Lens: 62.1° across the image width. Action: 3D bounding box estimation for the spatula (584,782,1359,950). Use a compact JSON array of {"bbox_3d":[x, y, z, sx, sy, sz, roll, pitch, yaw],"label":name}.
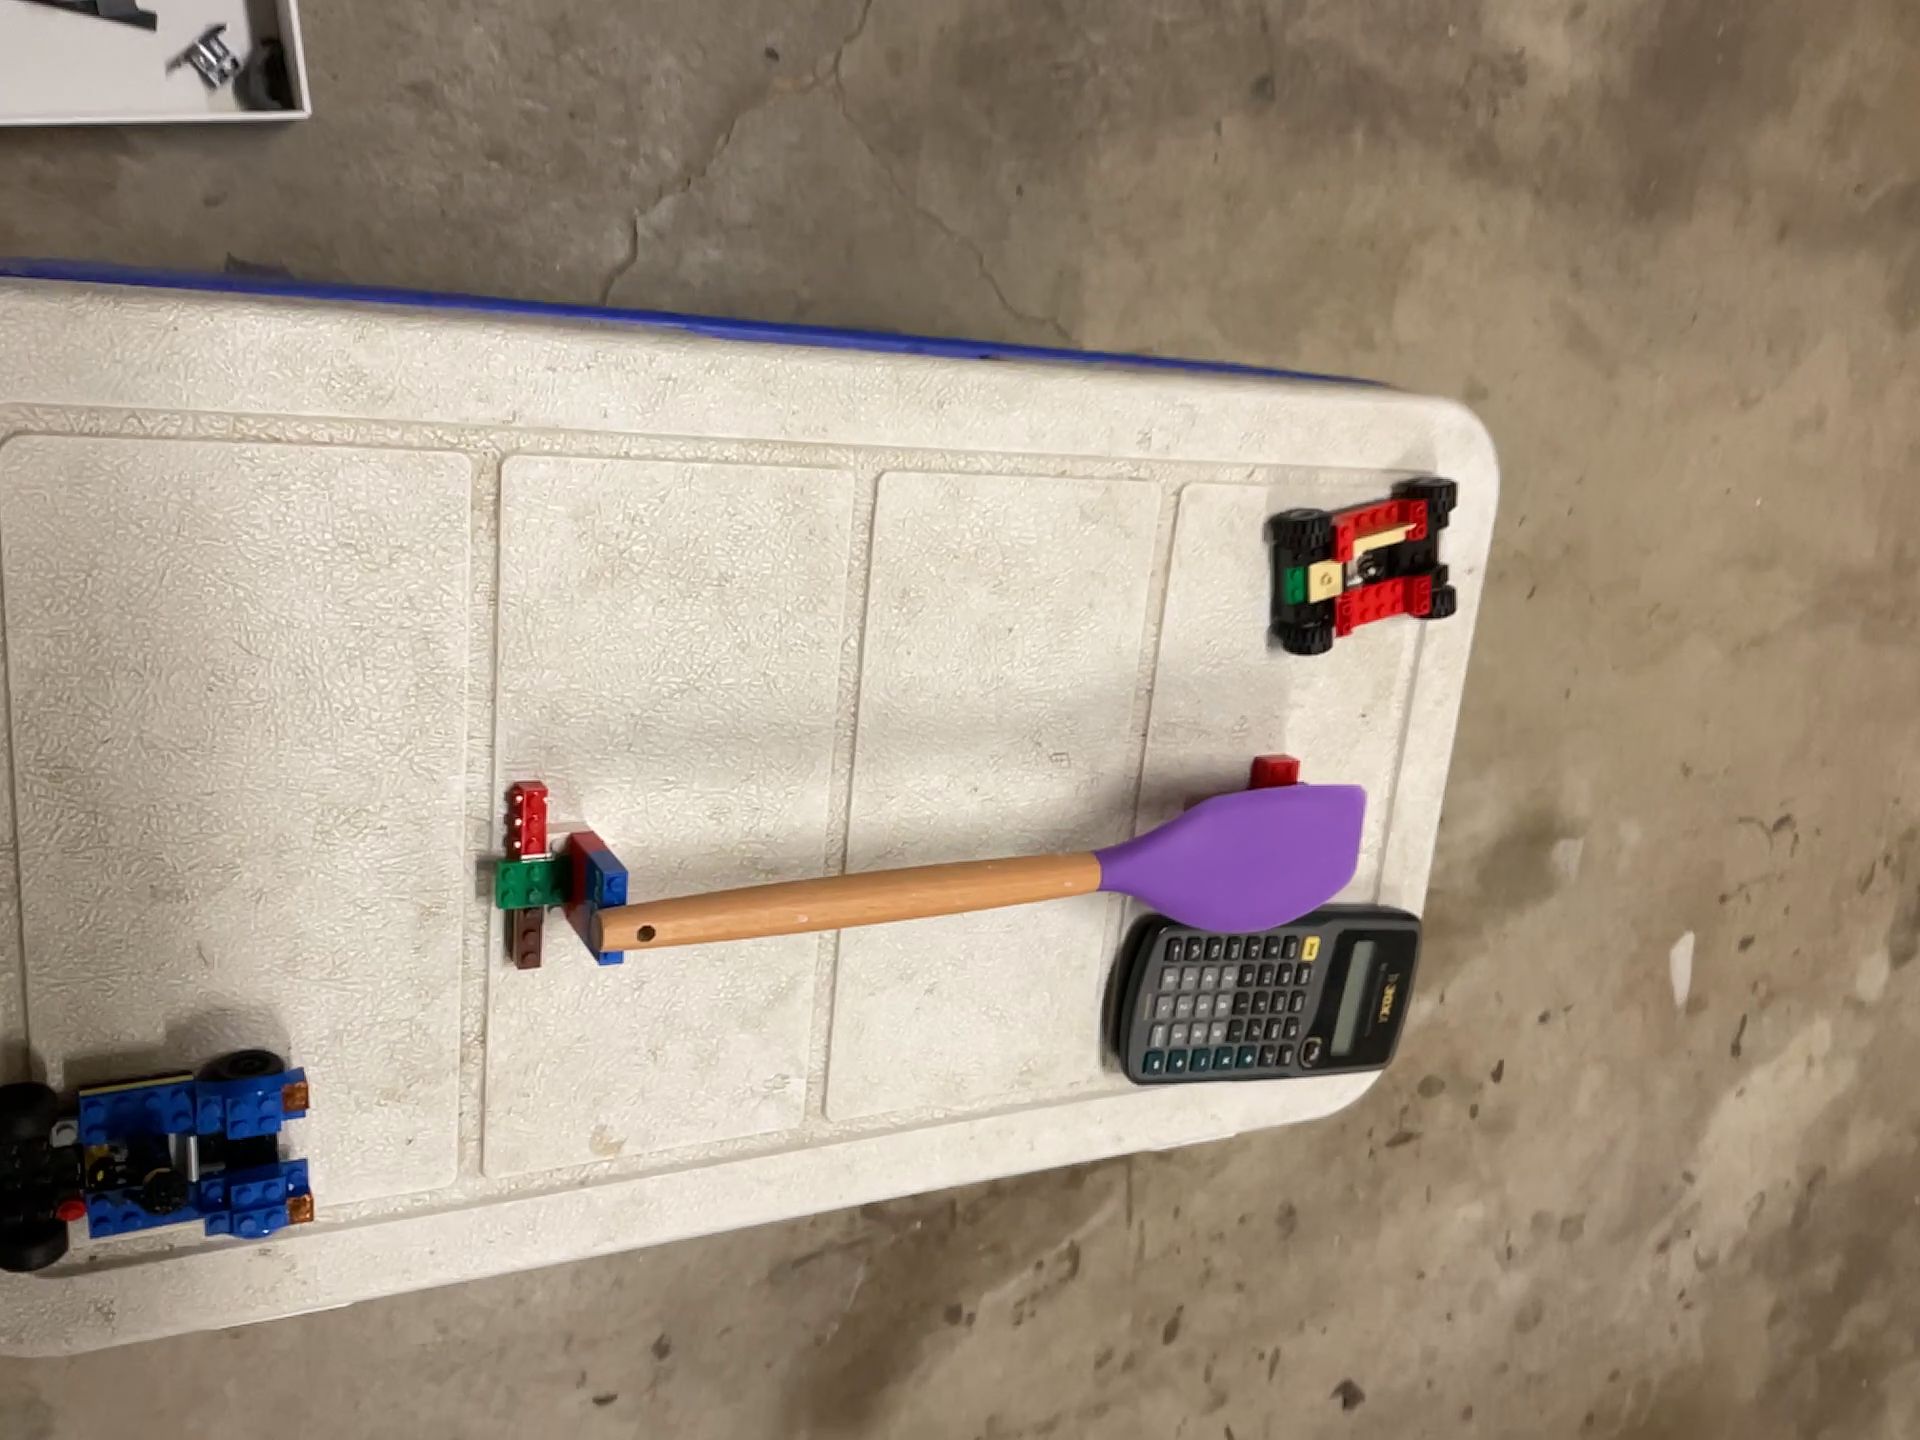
[{"bbox_3d":[0.022,0.059,0.573,0.316,0.018,0.059,-3,106,-29],"label":"spatula"}]
